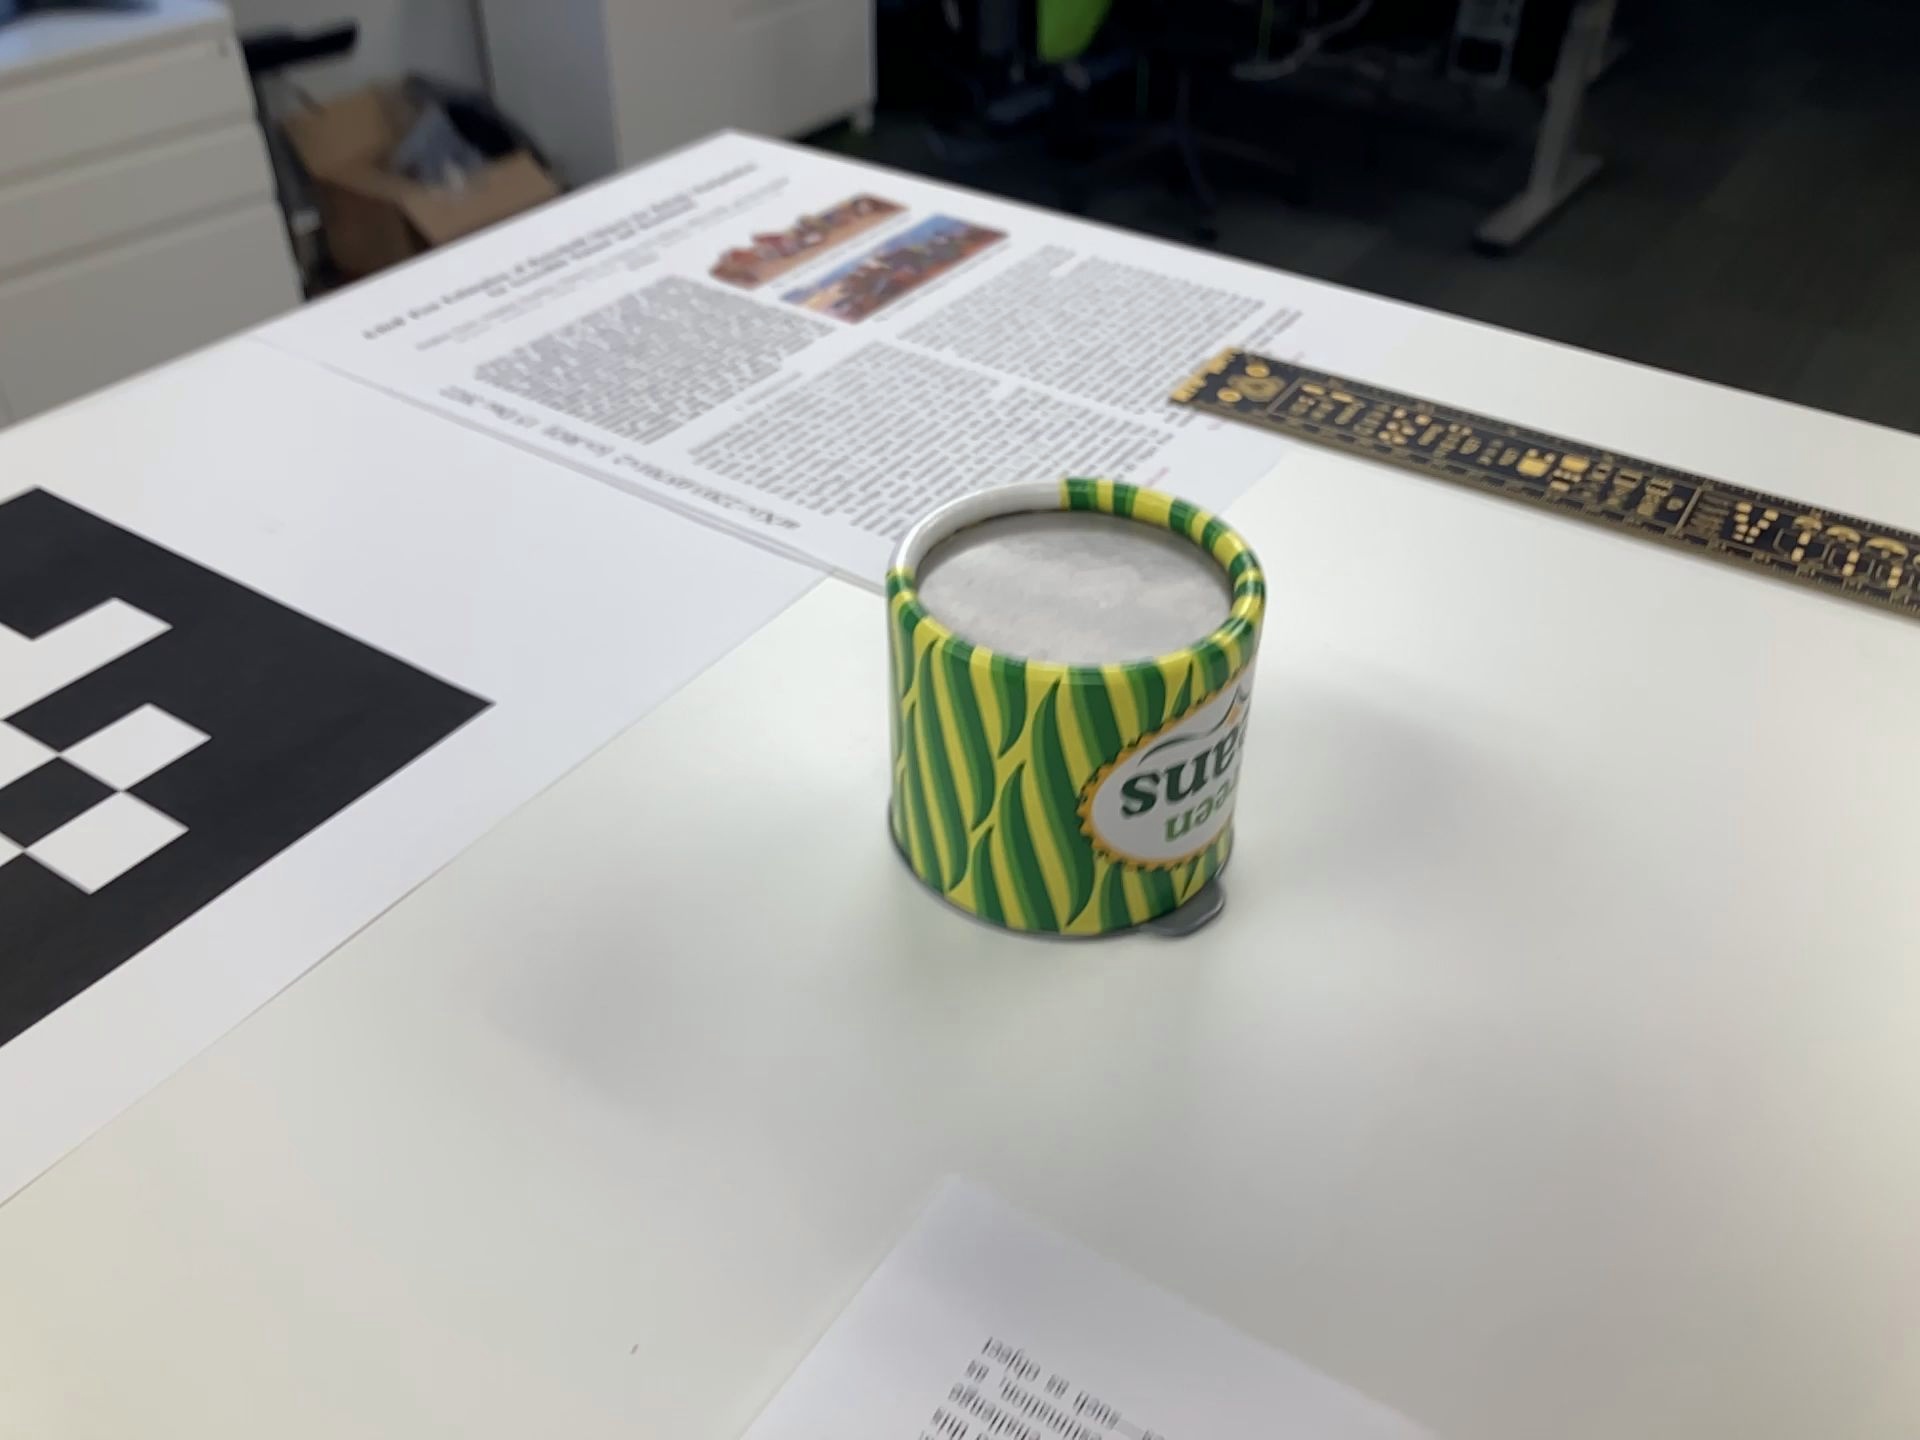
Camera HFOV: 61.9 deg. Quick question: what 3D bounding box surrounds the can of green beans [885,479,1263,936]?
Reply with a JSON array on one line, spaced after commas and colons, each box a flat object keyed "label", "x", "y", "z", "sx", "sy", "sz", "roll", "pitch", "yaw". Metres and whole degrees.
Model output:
[{"label": "can of green beans", "x": 0.019, "y": -0.004, "z": 0.295, "sx": 0.071, "sy": 0.058, "sz": 0.071, "roll": 1, "pitch": 38, "yaw": -1}]
